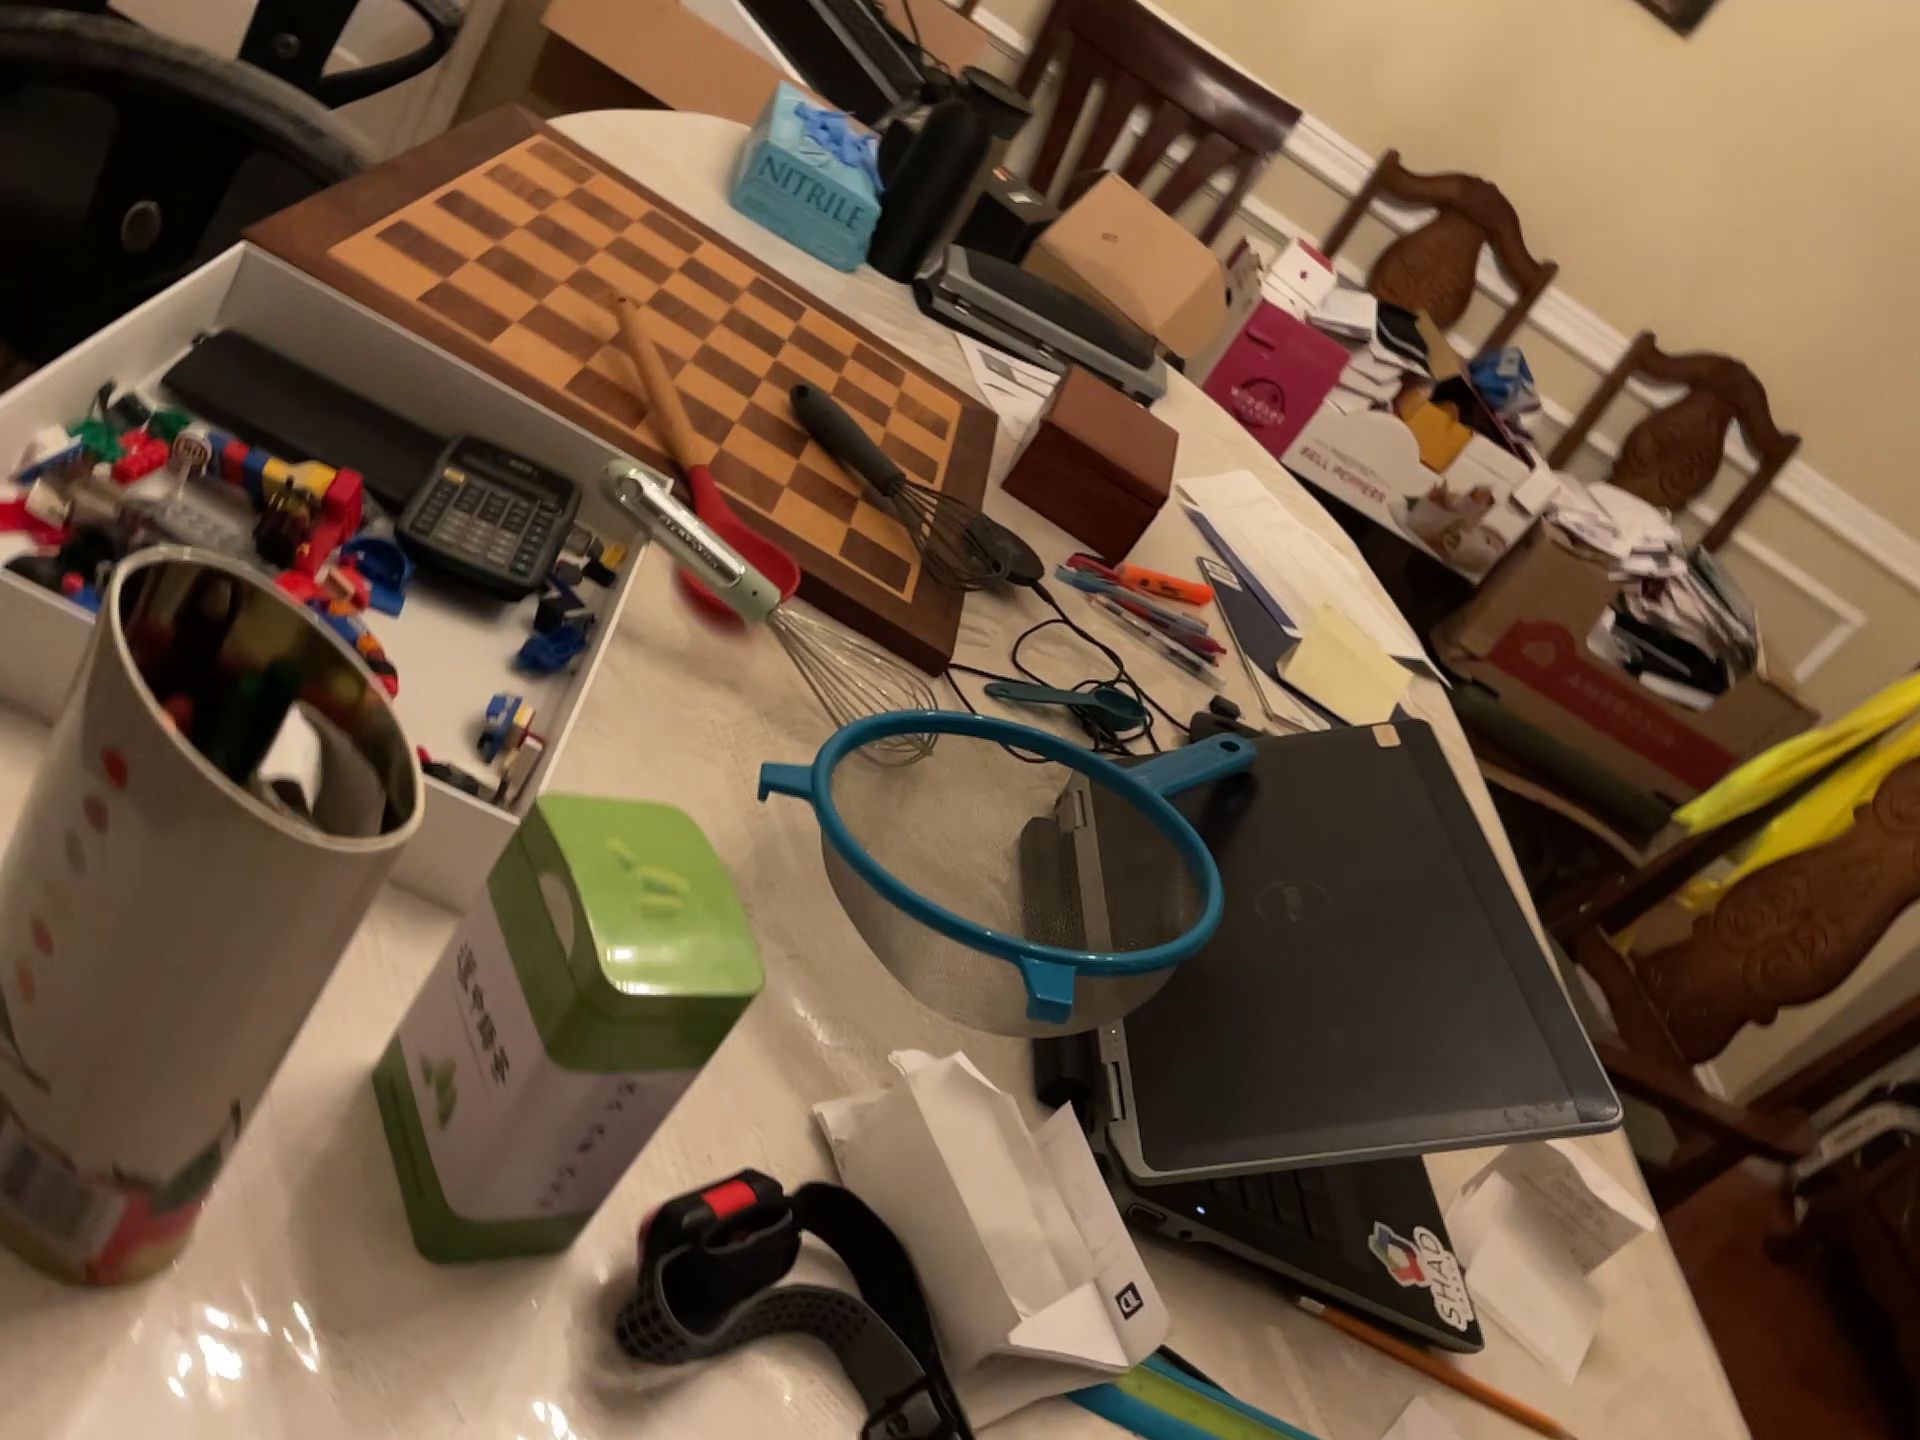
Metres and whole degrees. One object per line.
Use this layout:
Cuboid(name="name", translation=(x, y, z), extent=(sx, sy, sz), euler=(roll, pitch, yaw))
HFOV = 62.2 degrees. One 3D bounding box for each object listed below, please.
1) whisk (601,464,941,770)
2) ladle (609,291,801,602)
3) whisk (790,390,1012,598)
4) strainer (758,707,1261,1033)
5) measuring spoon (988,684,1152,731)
Cuboid(name="whisk", translation=(-0.100, -0.055, 0.883), extent=(0.246, 0.058, 0.059), euler=(41, -7, -21))
Cuboid(name="ladle", translation=(-0.178, -0.179, 1.022), extent=(0.069, 0.031, 0.316), euler=(-9, 52, -26))
Cuboid(name="whisk", translation=(-0.047, -0.167, 1.147), extent=(0.239, 0.055, 0.055), euler=(44, 14, 25))
Cuboid(name="strainer", translation=(0.057, 0.076, 0.836), extent=(0.211, 0.095, 0.340), euler=(35, 29, 28))
Cuboid(name="measuring spoon", translation=(0.073, -0.008, 1.092), extent=(0.128, 0.021, 0.042), euler=(4, 31, -28))
